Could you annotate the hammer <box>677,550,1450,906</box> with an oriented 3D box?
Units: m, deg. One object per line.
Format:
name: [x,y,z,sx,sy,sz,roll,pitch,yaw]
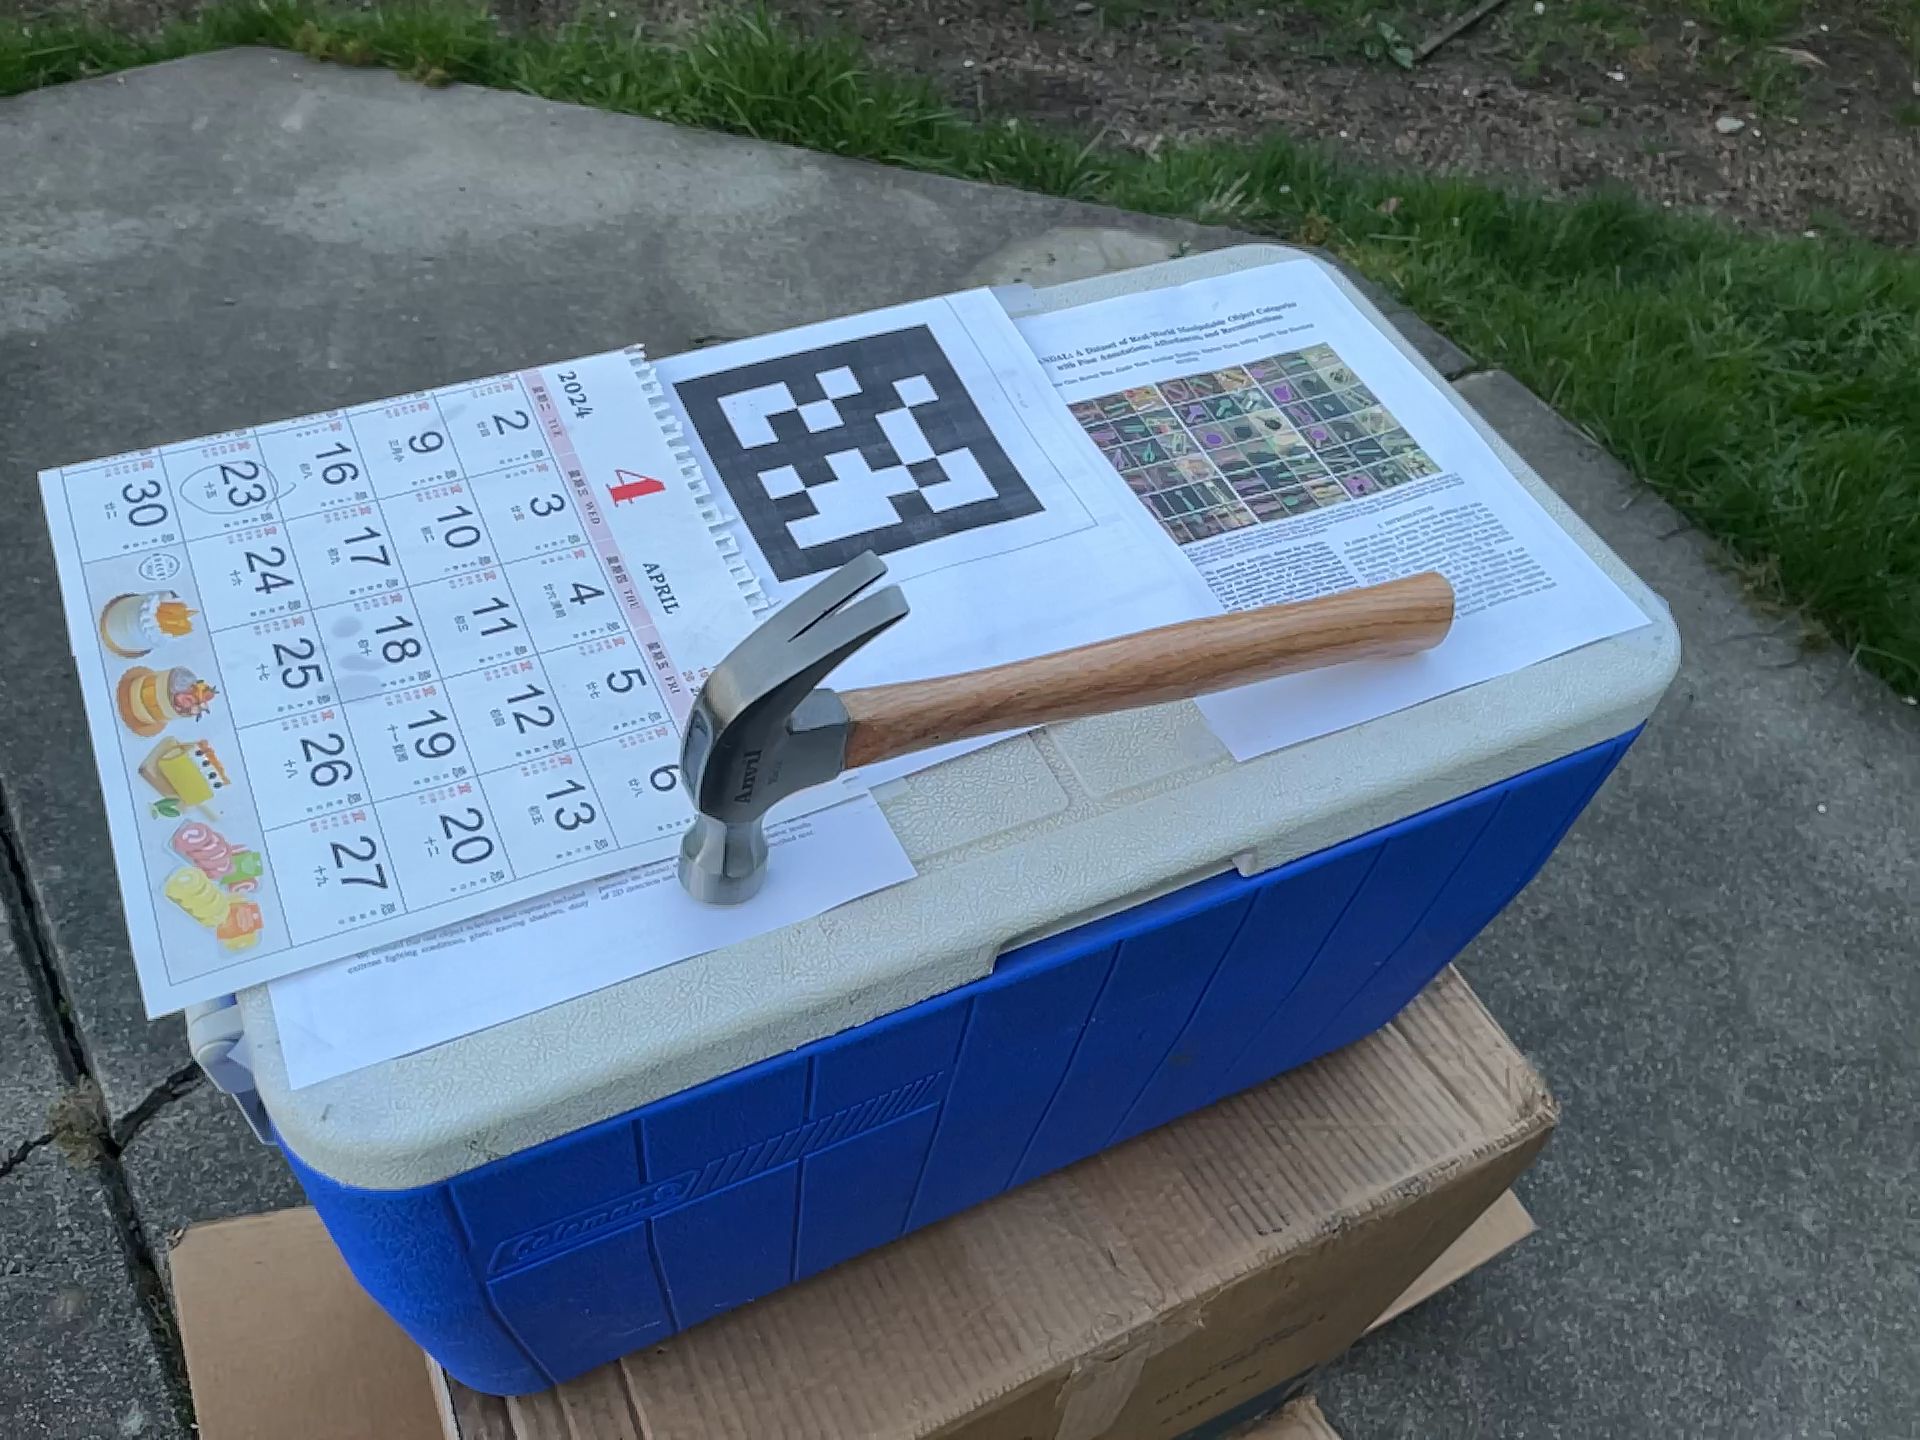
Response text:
hammer: [0.056,-0.018,0.581,0.331,0.130,0.031,-12,49,-27]
